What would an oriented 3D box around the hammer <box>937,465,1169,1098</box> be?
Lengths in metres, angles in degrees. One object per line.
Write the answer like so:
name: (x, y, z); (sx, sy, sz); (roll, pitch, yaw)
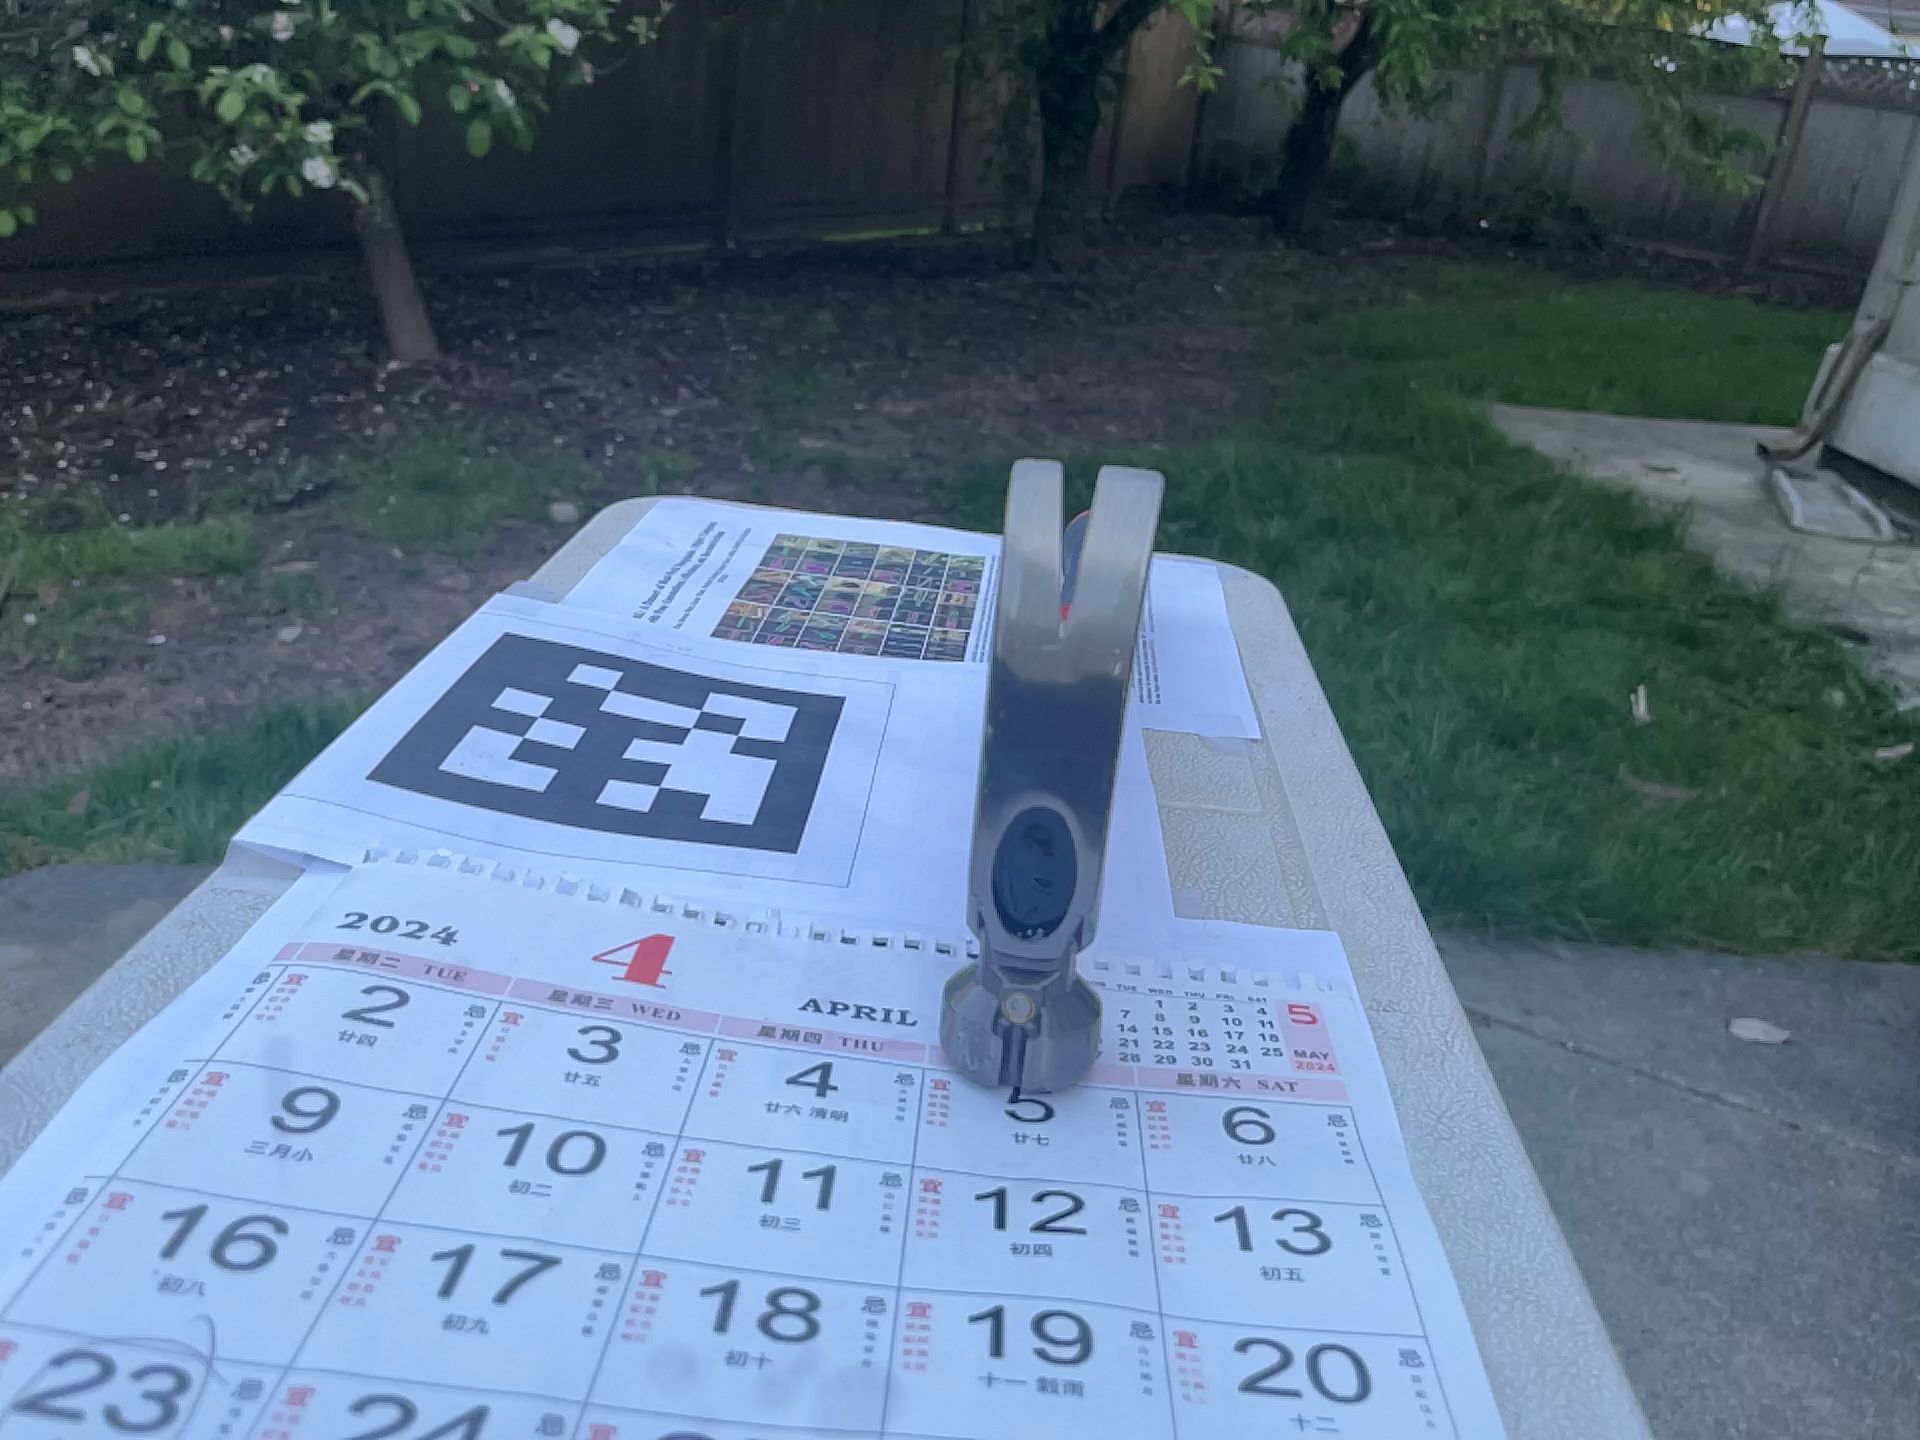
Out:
hammer: (0.042, -0.038, 0.512); (0.038, 0.143, 0.386); (8, 18, 5)
